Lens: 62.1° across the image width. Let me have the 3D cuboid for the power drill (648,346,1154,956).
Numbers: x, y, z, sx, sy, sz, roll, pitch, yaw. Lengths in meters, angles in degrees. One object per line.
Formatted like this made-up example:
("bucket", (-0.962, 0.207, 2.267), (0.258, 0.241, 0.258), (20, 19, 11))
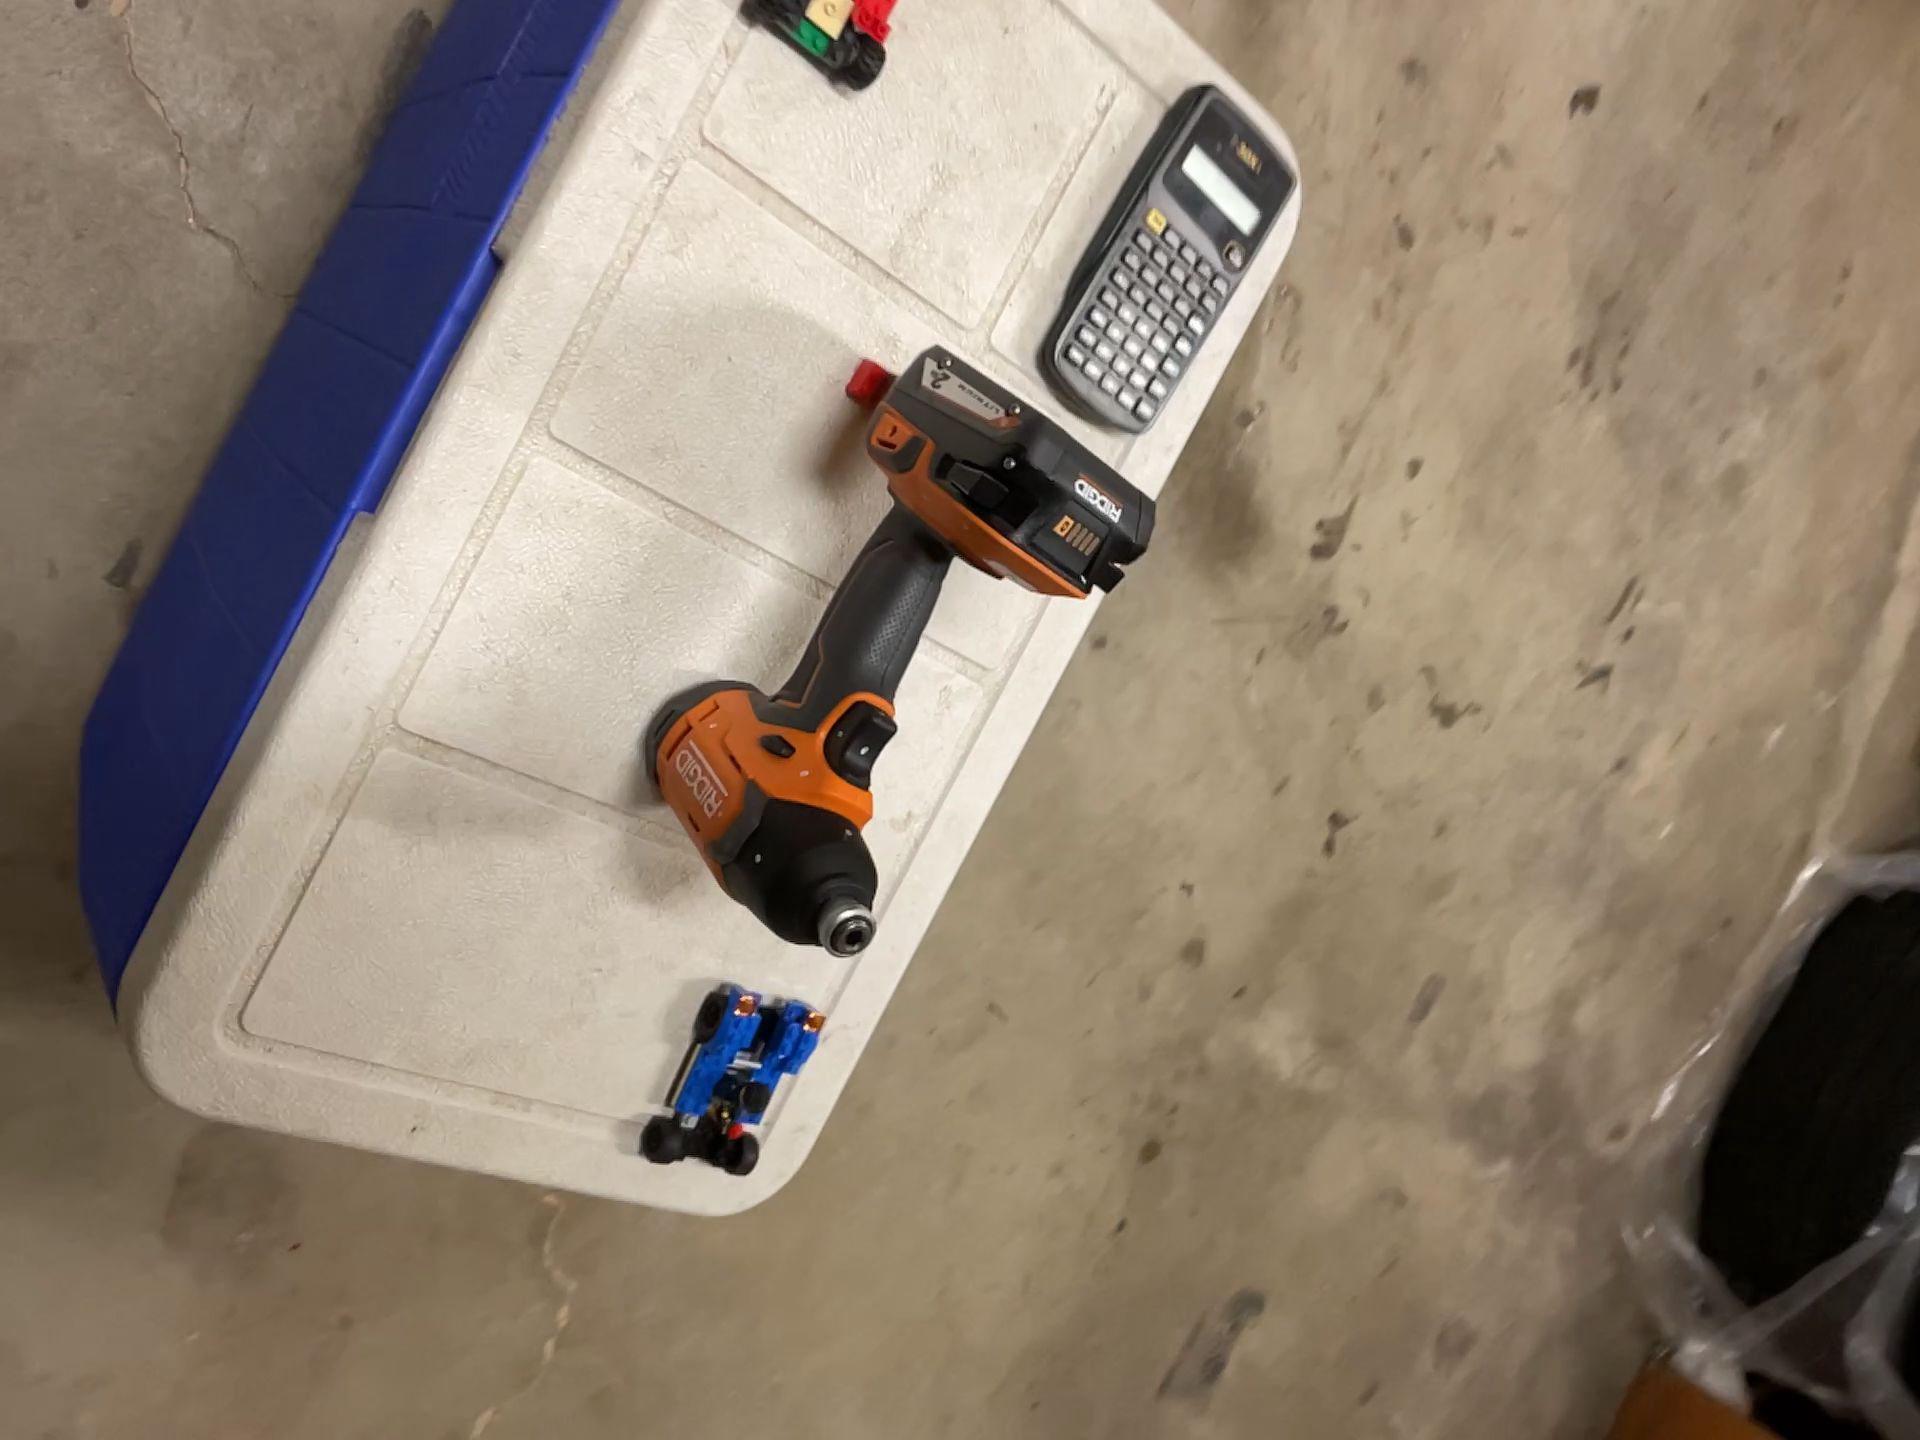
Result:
("power drill", (-0.027, -0.022, 0.639), (0.084, 0.164, 0.226), (30, 101, -39))
